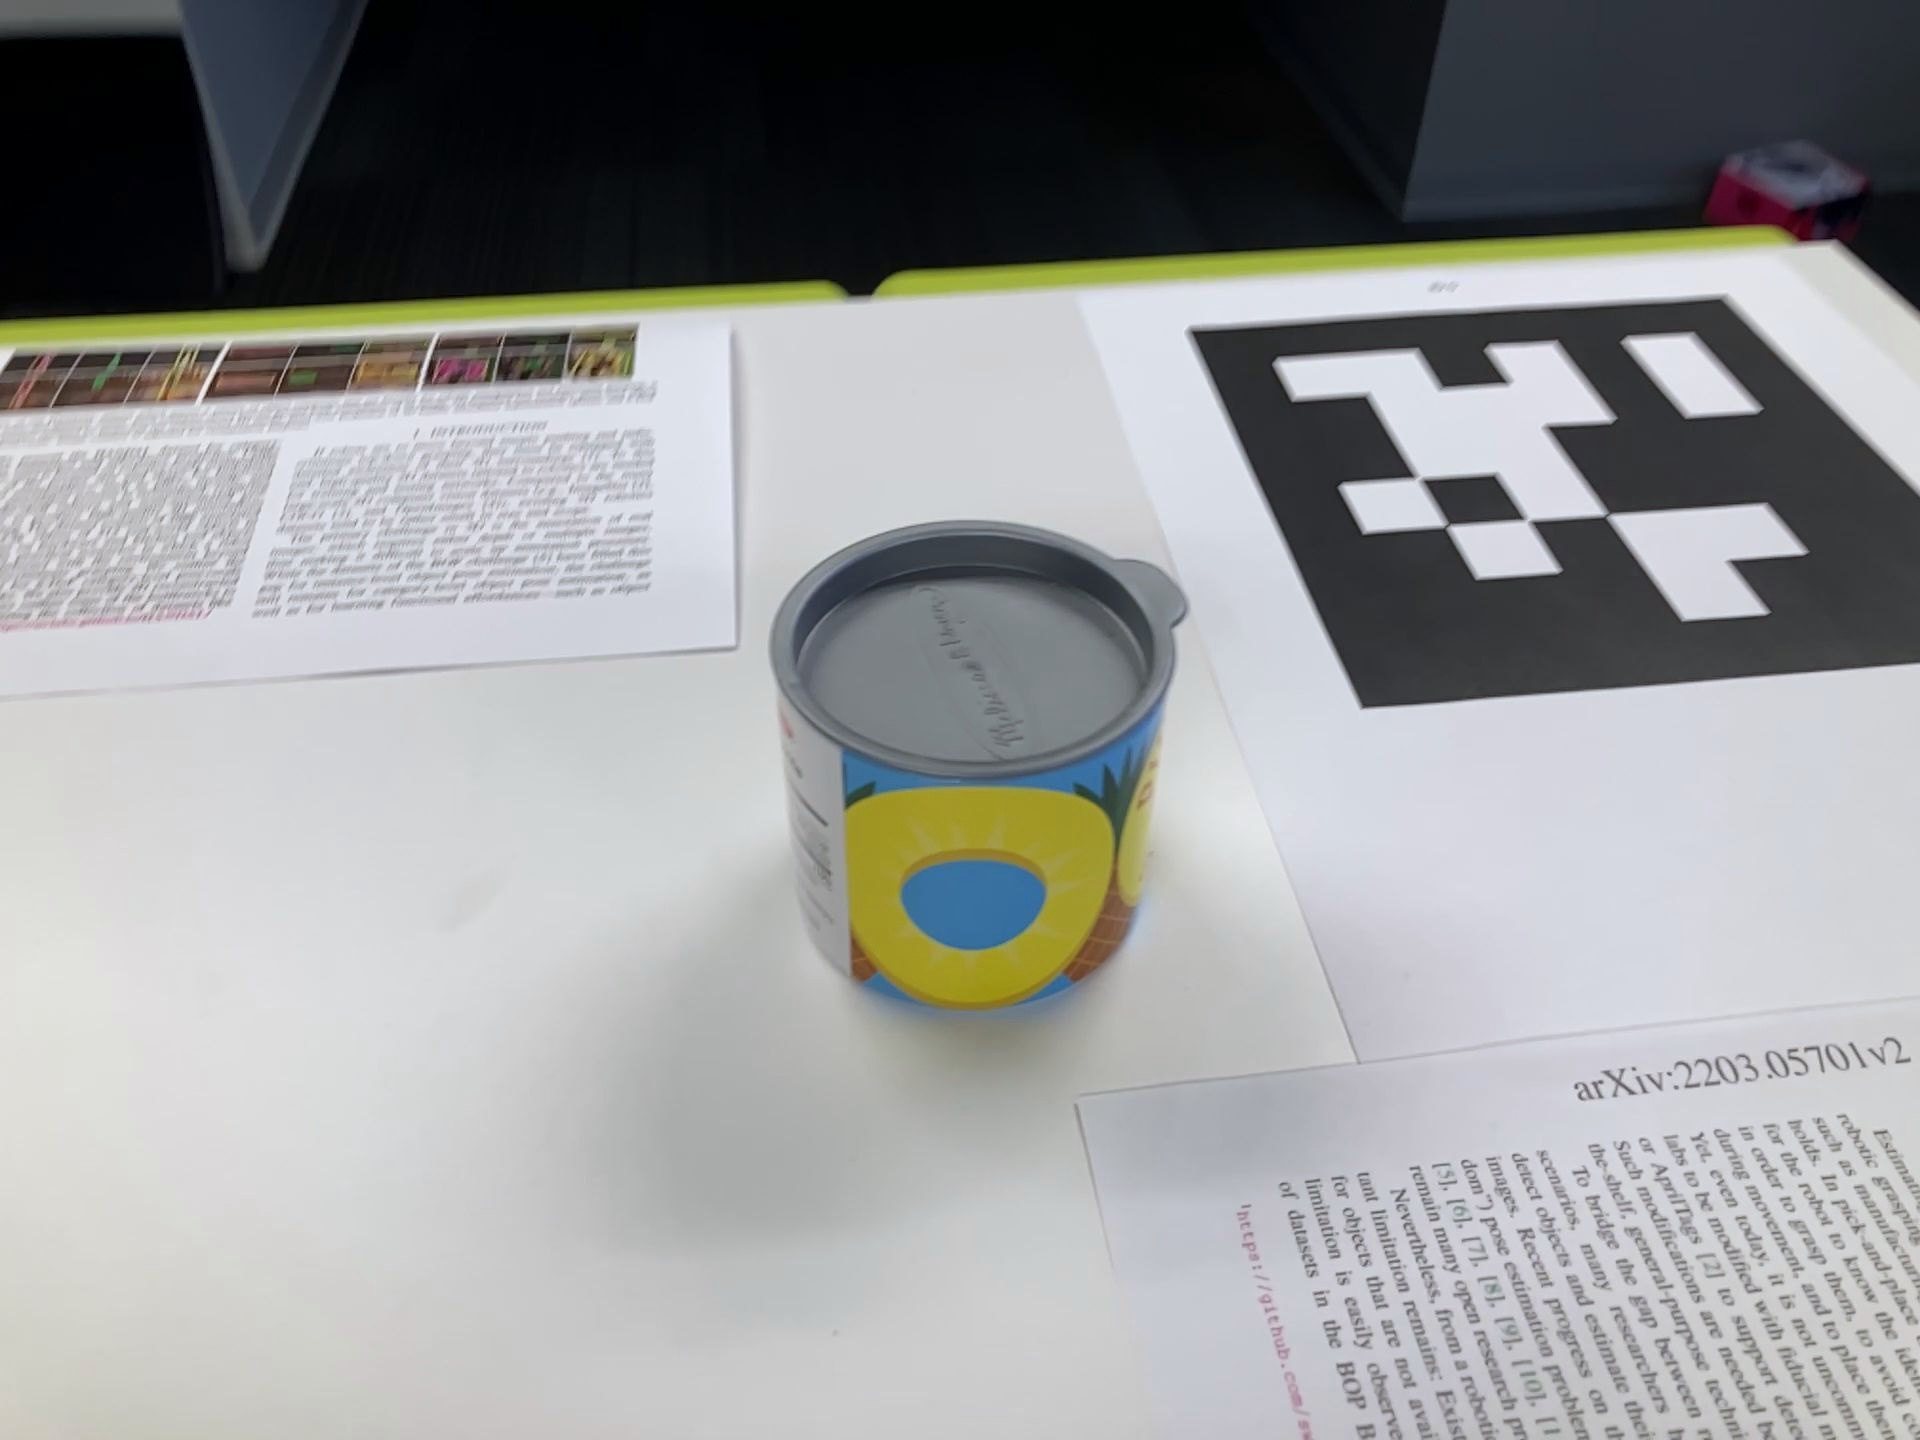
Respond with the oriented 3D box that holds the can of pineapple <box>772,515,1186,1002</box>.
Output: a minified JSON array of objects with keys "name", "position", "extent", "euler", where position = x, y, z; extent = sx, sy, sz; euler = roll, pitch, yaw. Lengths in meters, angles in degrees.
[{"name":"can of pineapple","position":[0.004,0.006,0.279],"extent":[0.071,0.058,0.071],"euler":[1,43,-1]}]
